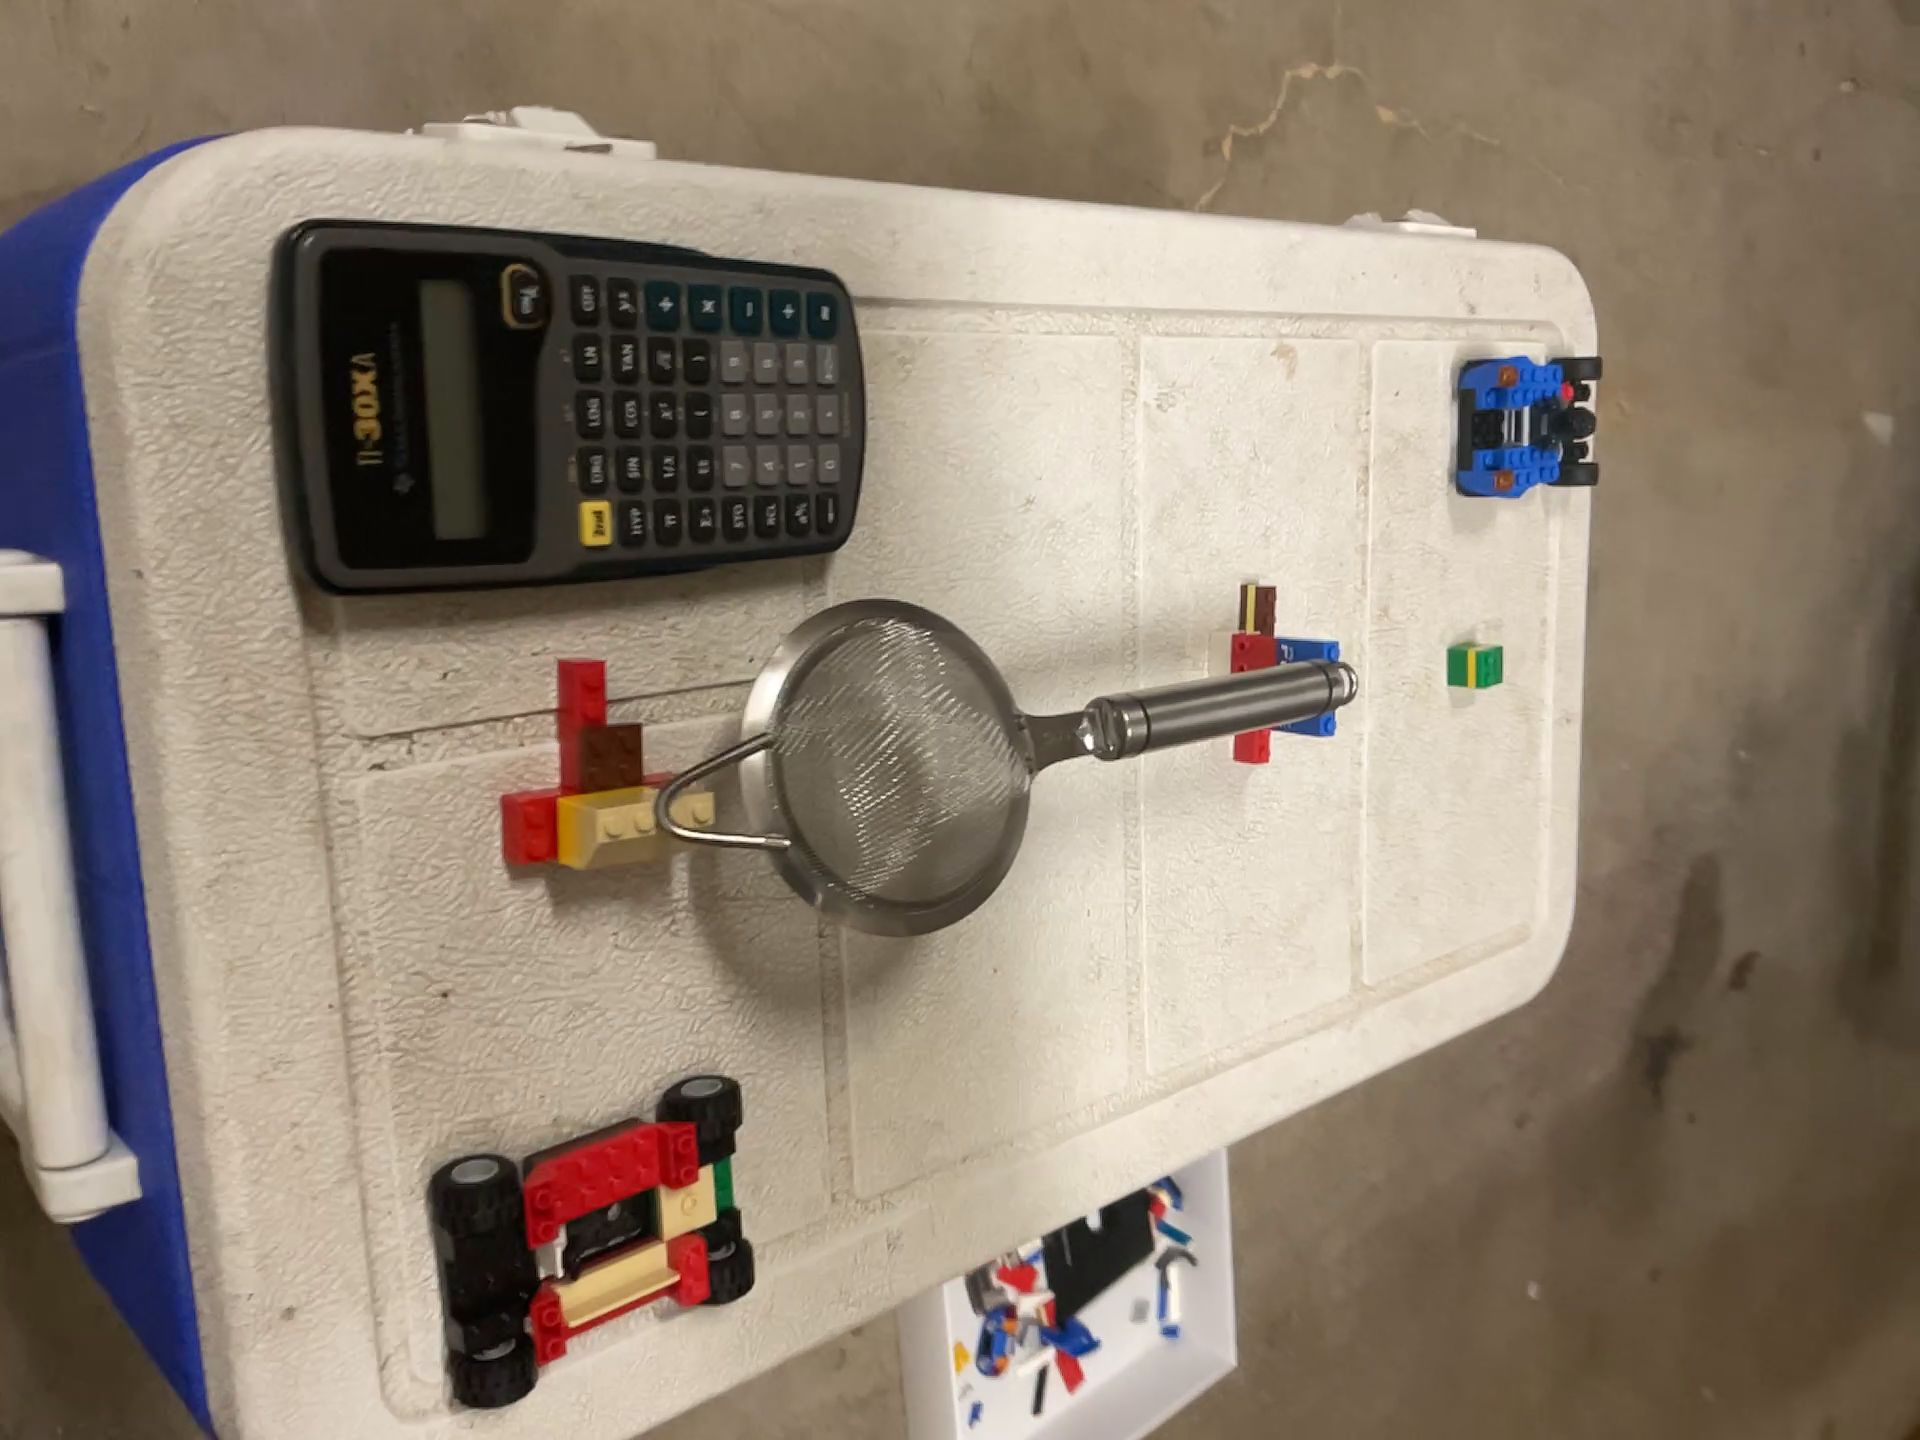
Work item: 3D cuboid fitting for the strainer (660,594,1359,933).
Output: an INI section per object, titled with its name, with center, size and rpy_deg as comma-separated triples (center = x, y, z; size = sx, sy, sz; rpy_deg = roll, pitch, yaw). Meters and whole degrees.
[strainer]
center = 0.039, 0.000, 0.445
size = 0.258, 0.050, 0.087
rpy_deg = -10, 87, -43
